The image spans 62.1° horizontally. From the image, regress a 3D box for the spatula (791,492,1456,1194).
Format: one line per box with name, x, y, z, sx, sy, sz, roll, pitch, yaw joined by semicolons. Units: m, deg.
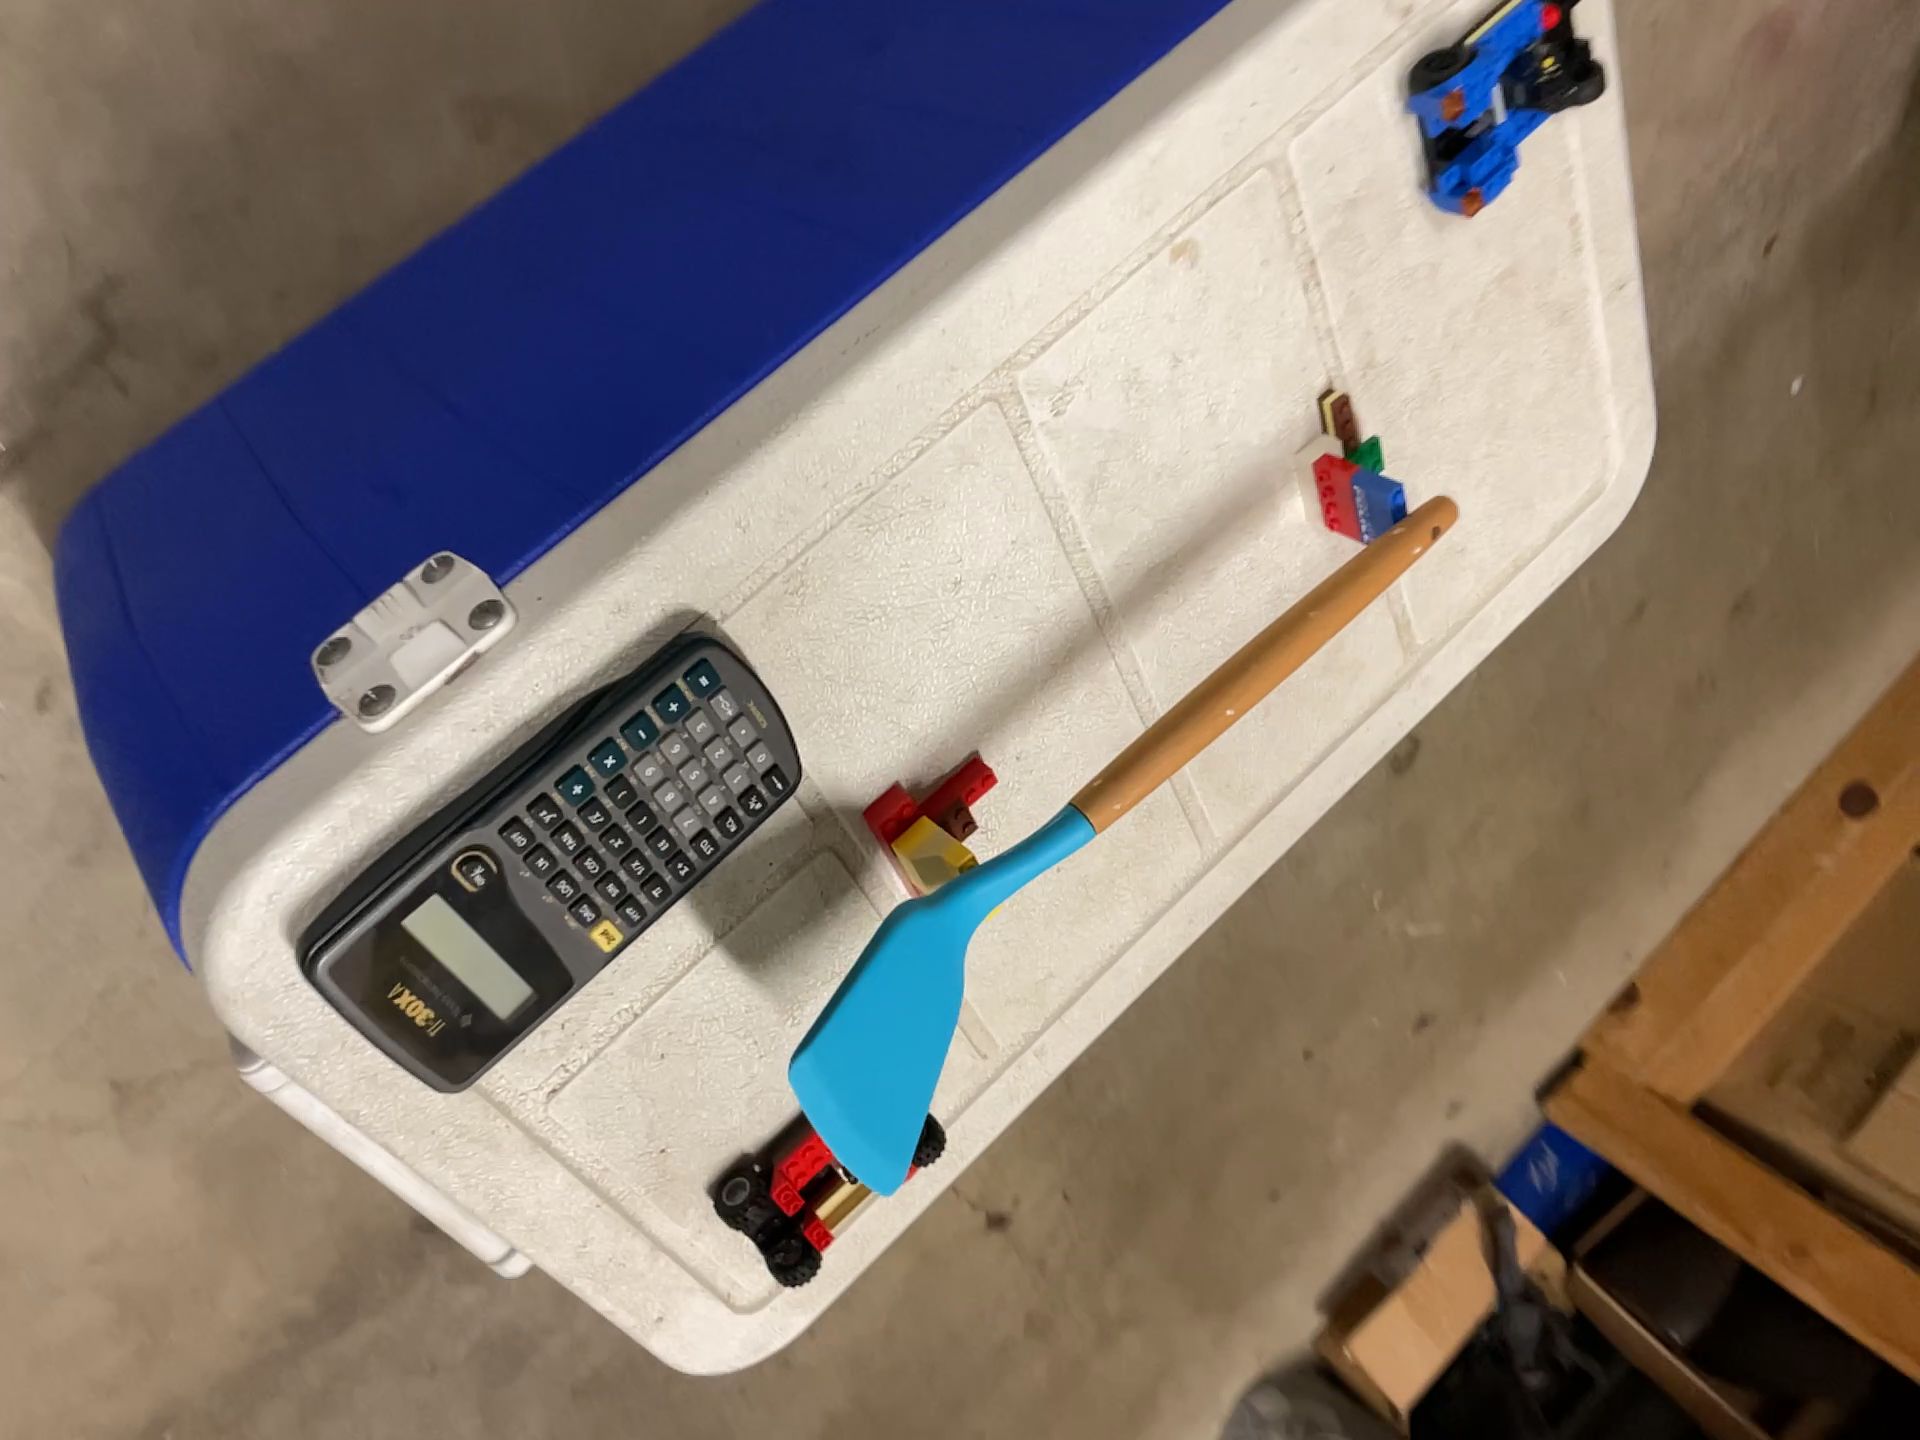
spatula;0.068;0.022;0.543;0.317;0.044;0.082;-40;131;-15
